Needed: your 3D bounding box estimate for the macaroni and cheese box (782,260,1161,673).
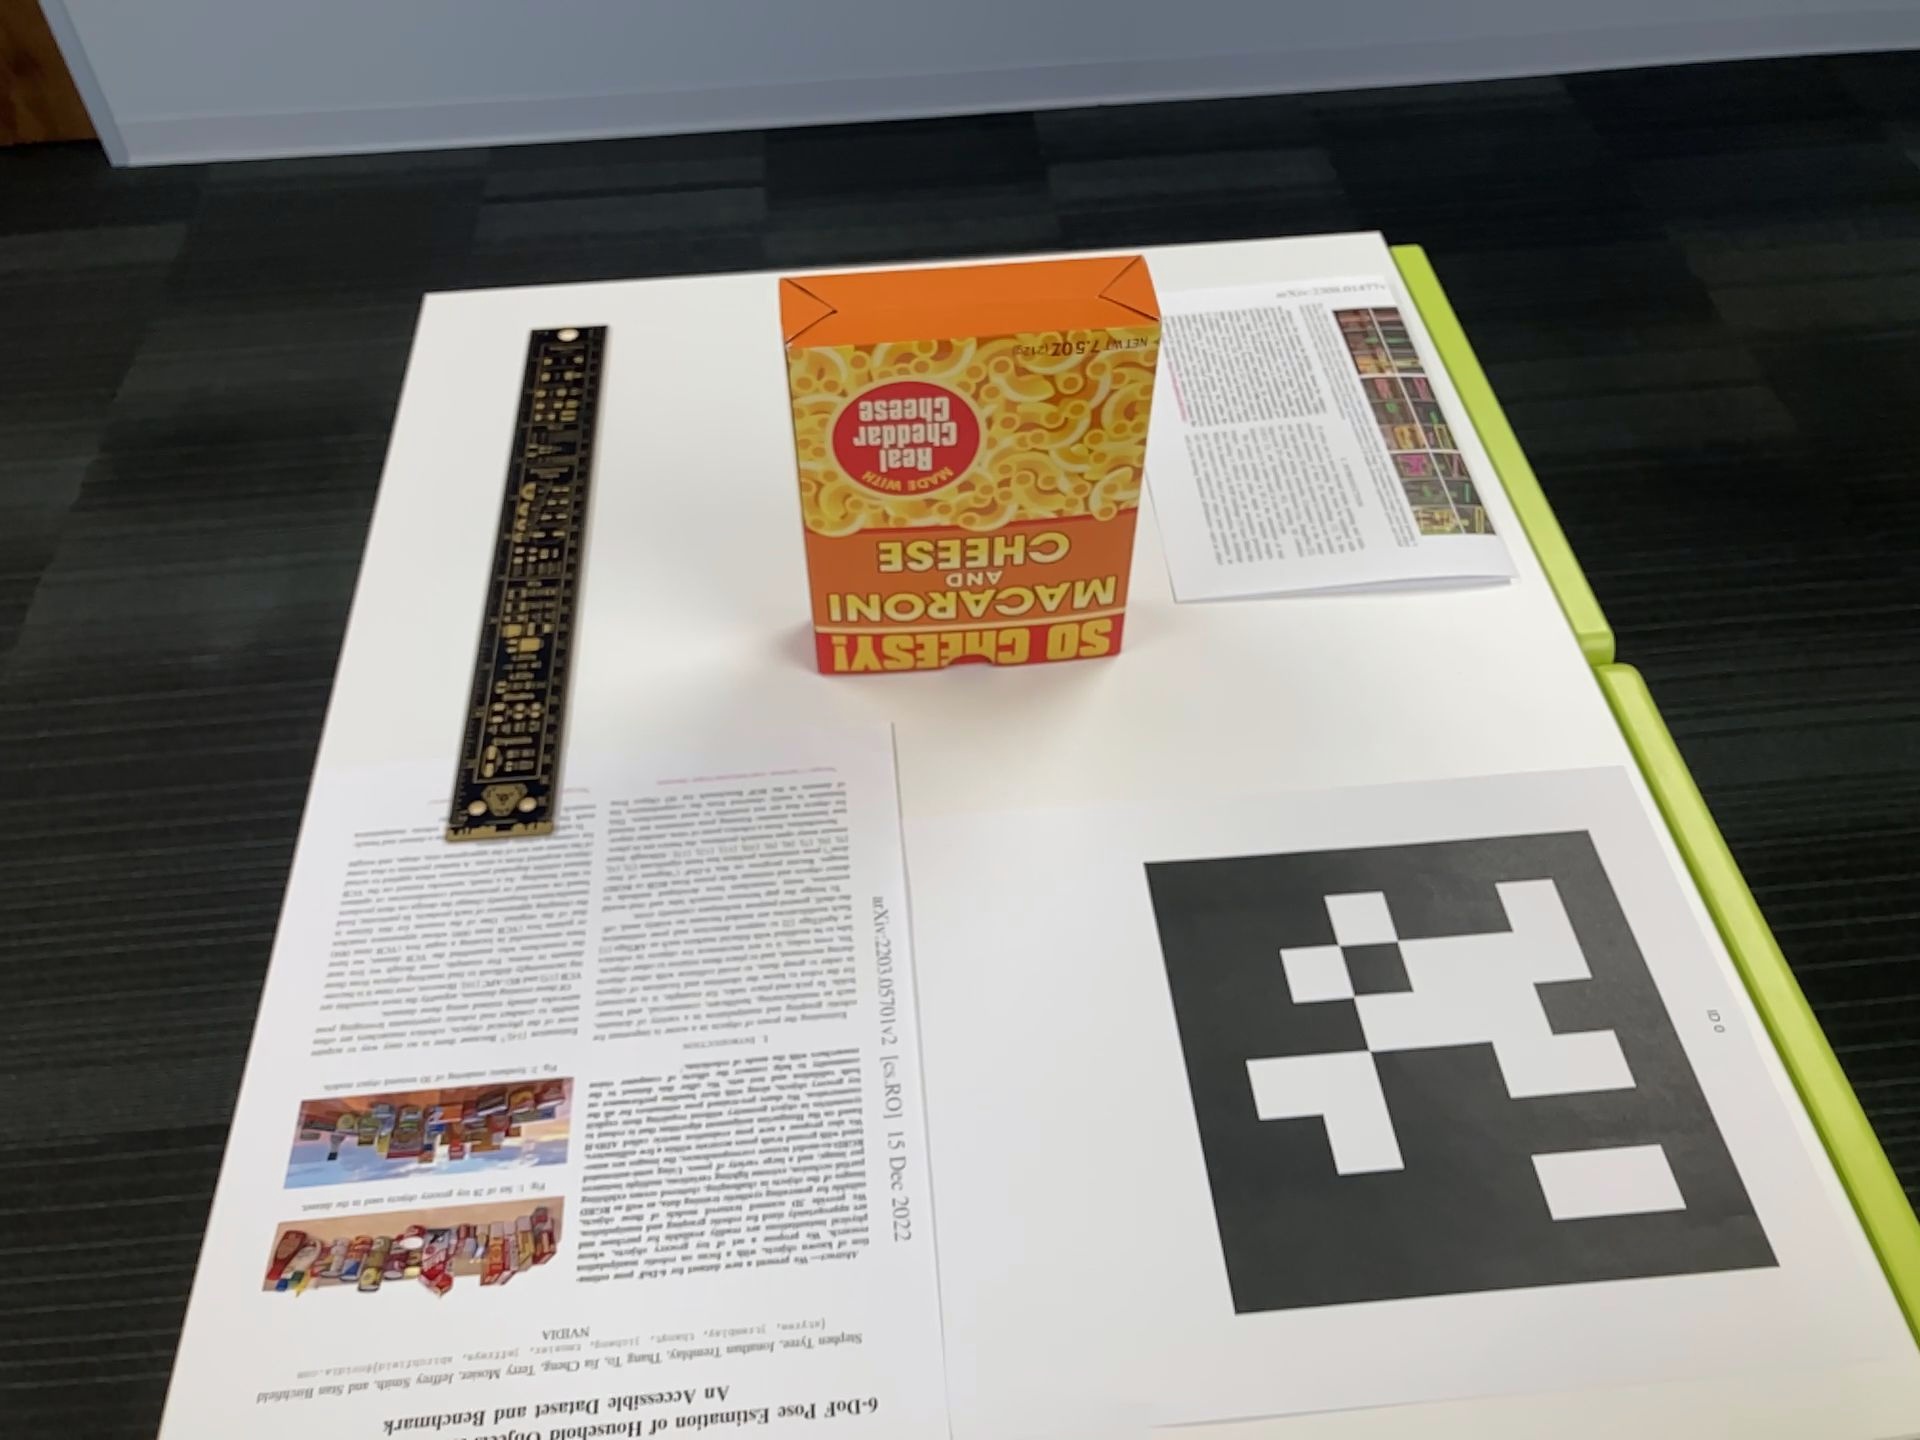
[{"bbox_3d":[0.002,-0.086,0.586,0.124,0.166,0.040,-4,52,-3],"label":"macaroni and cheese box"}]
